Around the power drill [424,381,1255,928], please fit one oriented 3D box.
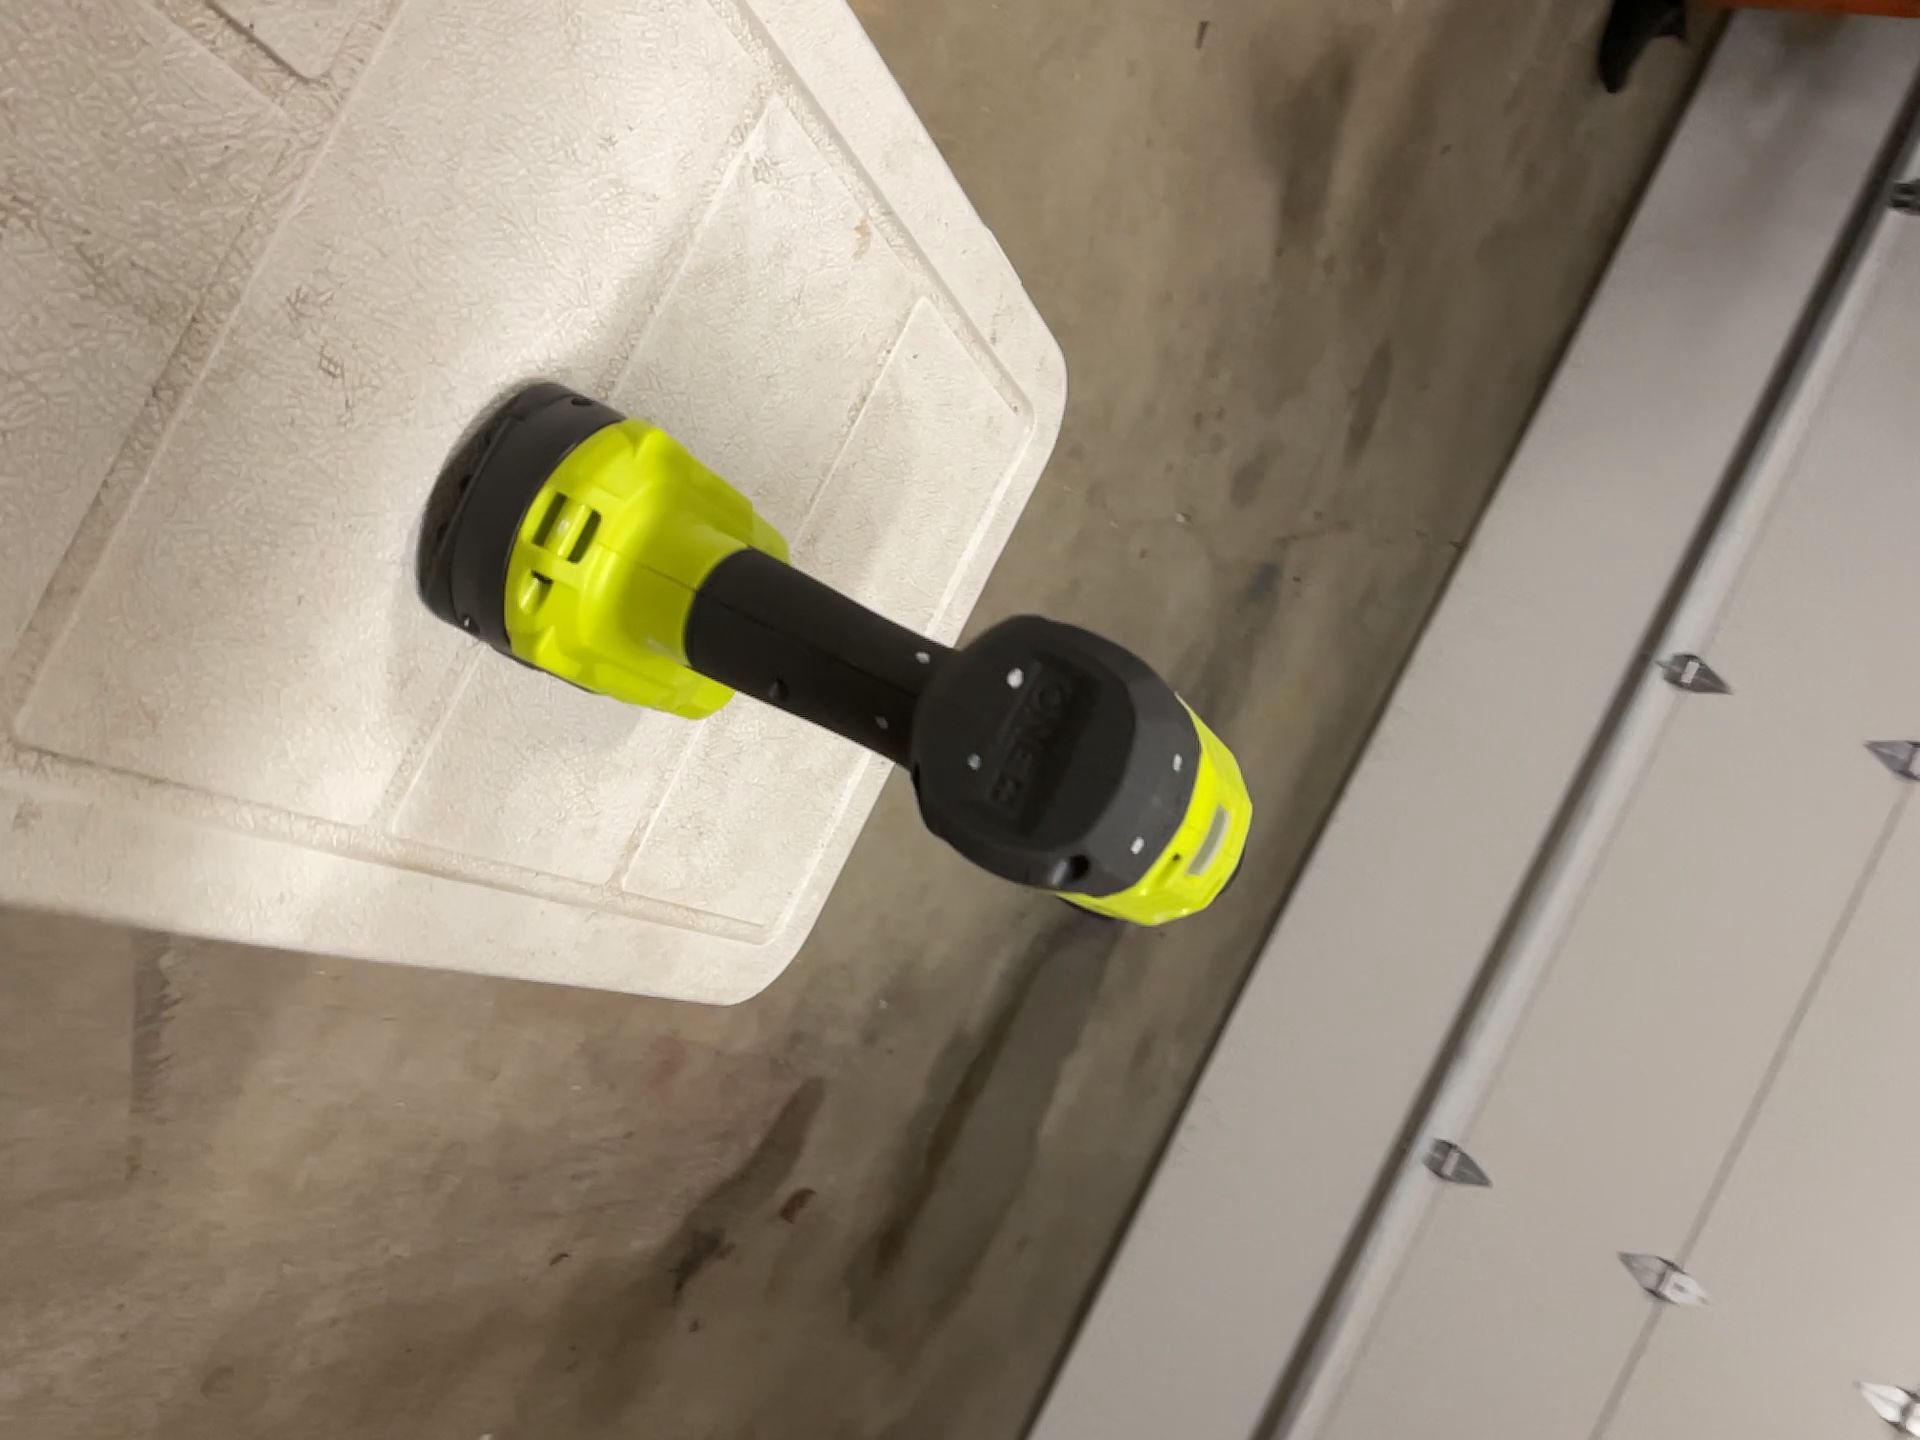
[{"bbox_3d":[-0.021,-0.008,0.469,0.080,0.228,0.190,-64,158,-3],"label":"power drill"}]
